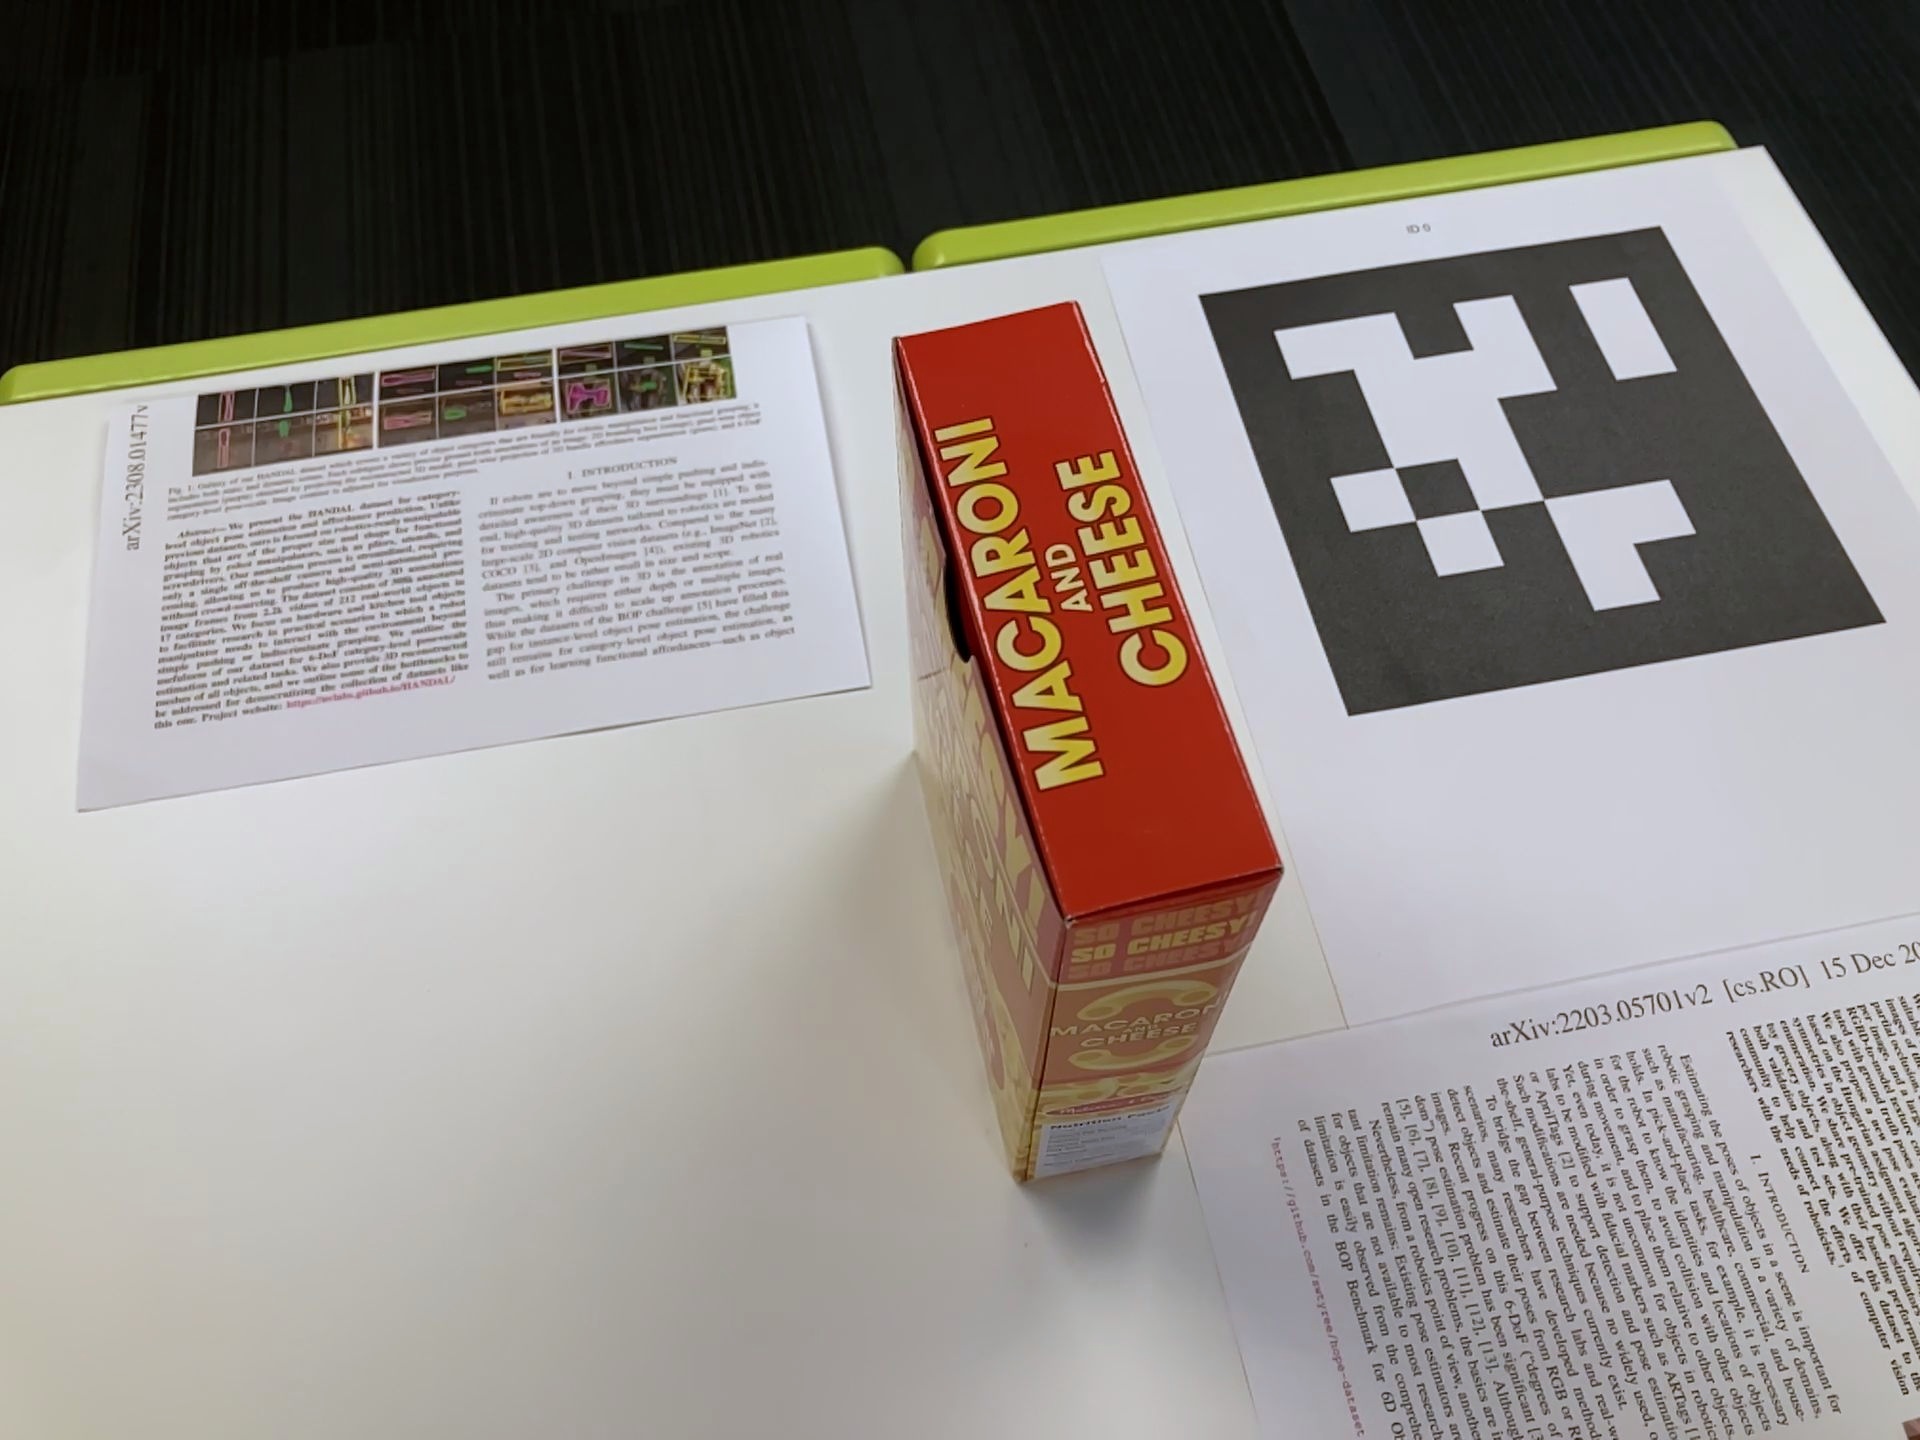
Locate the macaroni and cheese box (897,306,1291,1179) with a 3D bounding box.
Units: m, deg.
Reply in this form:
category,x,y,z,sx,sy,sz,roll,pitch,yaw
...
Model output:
category,x,y,z,sx,sy,sz,roll,pitch,yaw
macaroni and cheese box,0.019,0.016,0.343,0.040,0.166,0.124,-12,61,-7
